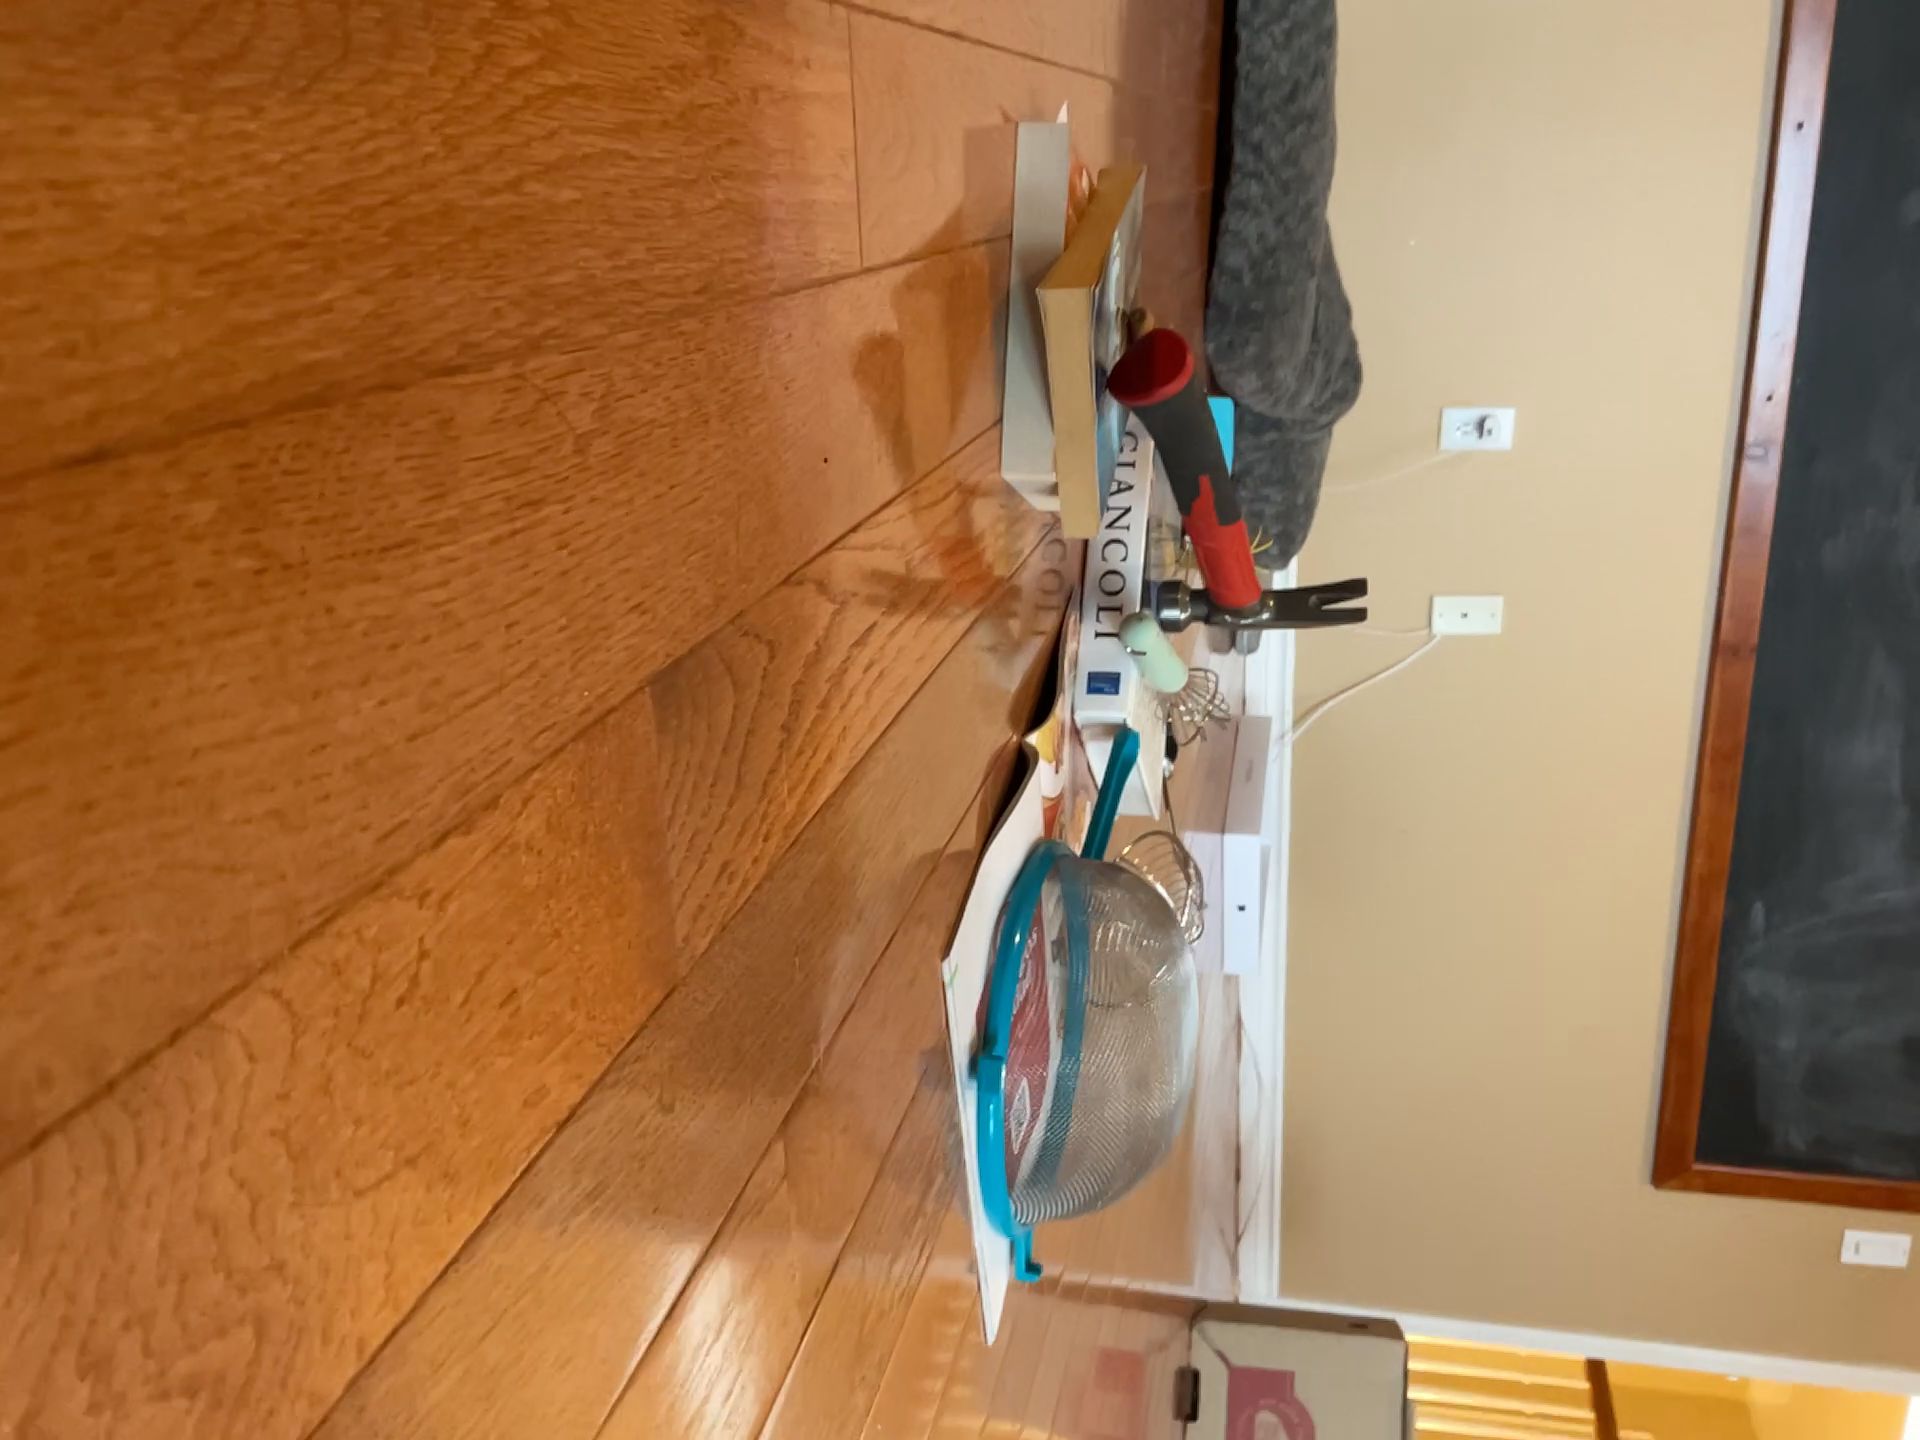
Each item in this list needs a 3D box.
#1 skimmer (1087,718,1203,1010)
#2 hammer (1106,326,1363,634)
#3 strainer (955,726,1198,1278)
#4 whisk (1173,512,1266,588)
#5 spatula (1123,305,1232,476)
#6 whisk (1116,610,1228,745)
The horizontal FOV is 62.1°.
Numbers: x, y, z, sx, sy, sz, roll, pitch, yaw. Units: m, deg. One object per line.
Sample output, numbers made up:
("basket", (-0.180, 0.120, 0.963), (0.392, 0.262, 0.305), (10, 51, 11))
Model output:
("skimmer", (0.126, 0.070, 1.194), (0.364, 0.090, 0.127), (-86, 170, -60))
("hammer", (0.162, -0.127, 0.948), (0.386, 0.143, 0.038), (45, 46, -69))
("strainer", (0.094, 0.128, 0.883), (0.341, 0.095, 0.210), (-65, 154, -43))
("whisk", (0.196, -0.146, 1.318), (0.312, 0.067, 0.080), (-94, 167, -77))
("spatula", (0.138, -0.204, 1.004), (0.317, 0.044, 0.082), (19, 75, -76))
("whisk", (0.138, -0.029, 1.051), (0.059, 0.058, 0.246), (-56, 158, -1))
